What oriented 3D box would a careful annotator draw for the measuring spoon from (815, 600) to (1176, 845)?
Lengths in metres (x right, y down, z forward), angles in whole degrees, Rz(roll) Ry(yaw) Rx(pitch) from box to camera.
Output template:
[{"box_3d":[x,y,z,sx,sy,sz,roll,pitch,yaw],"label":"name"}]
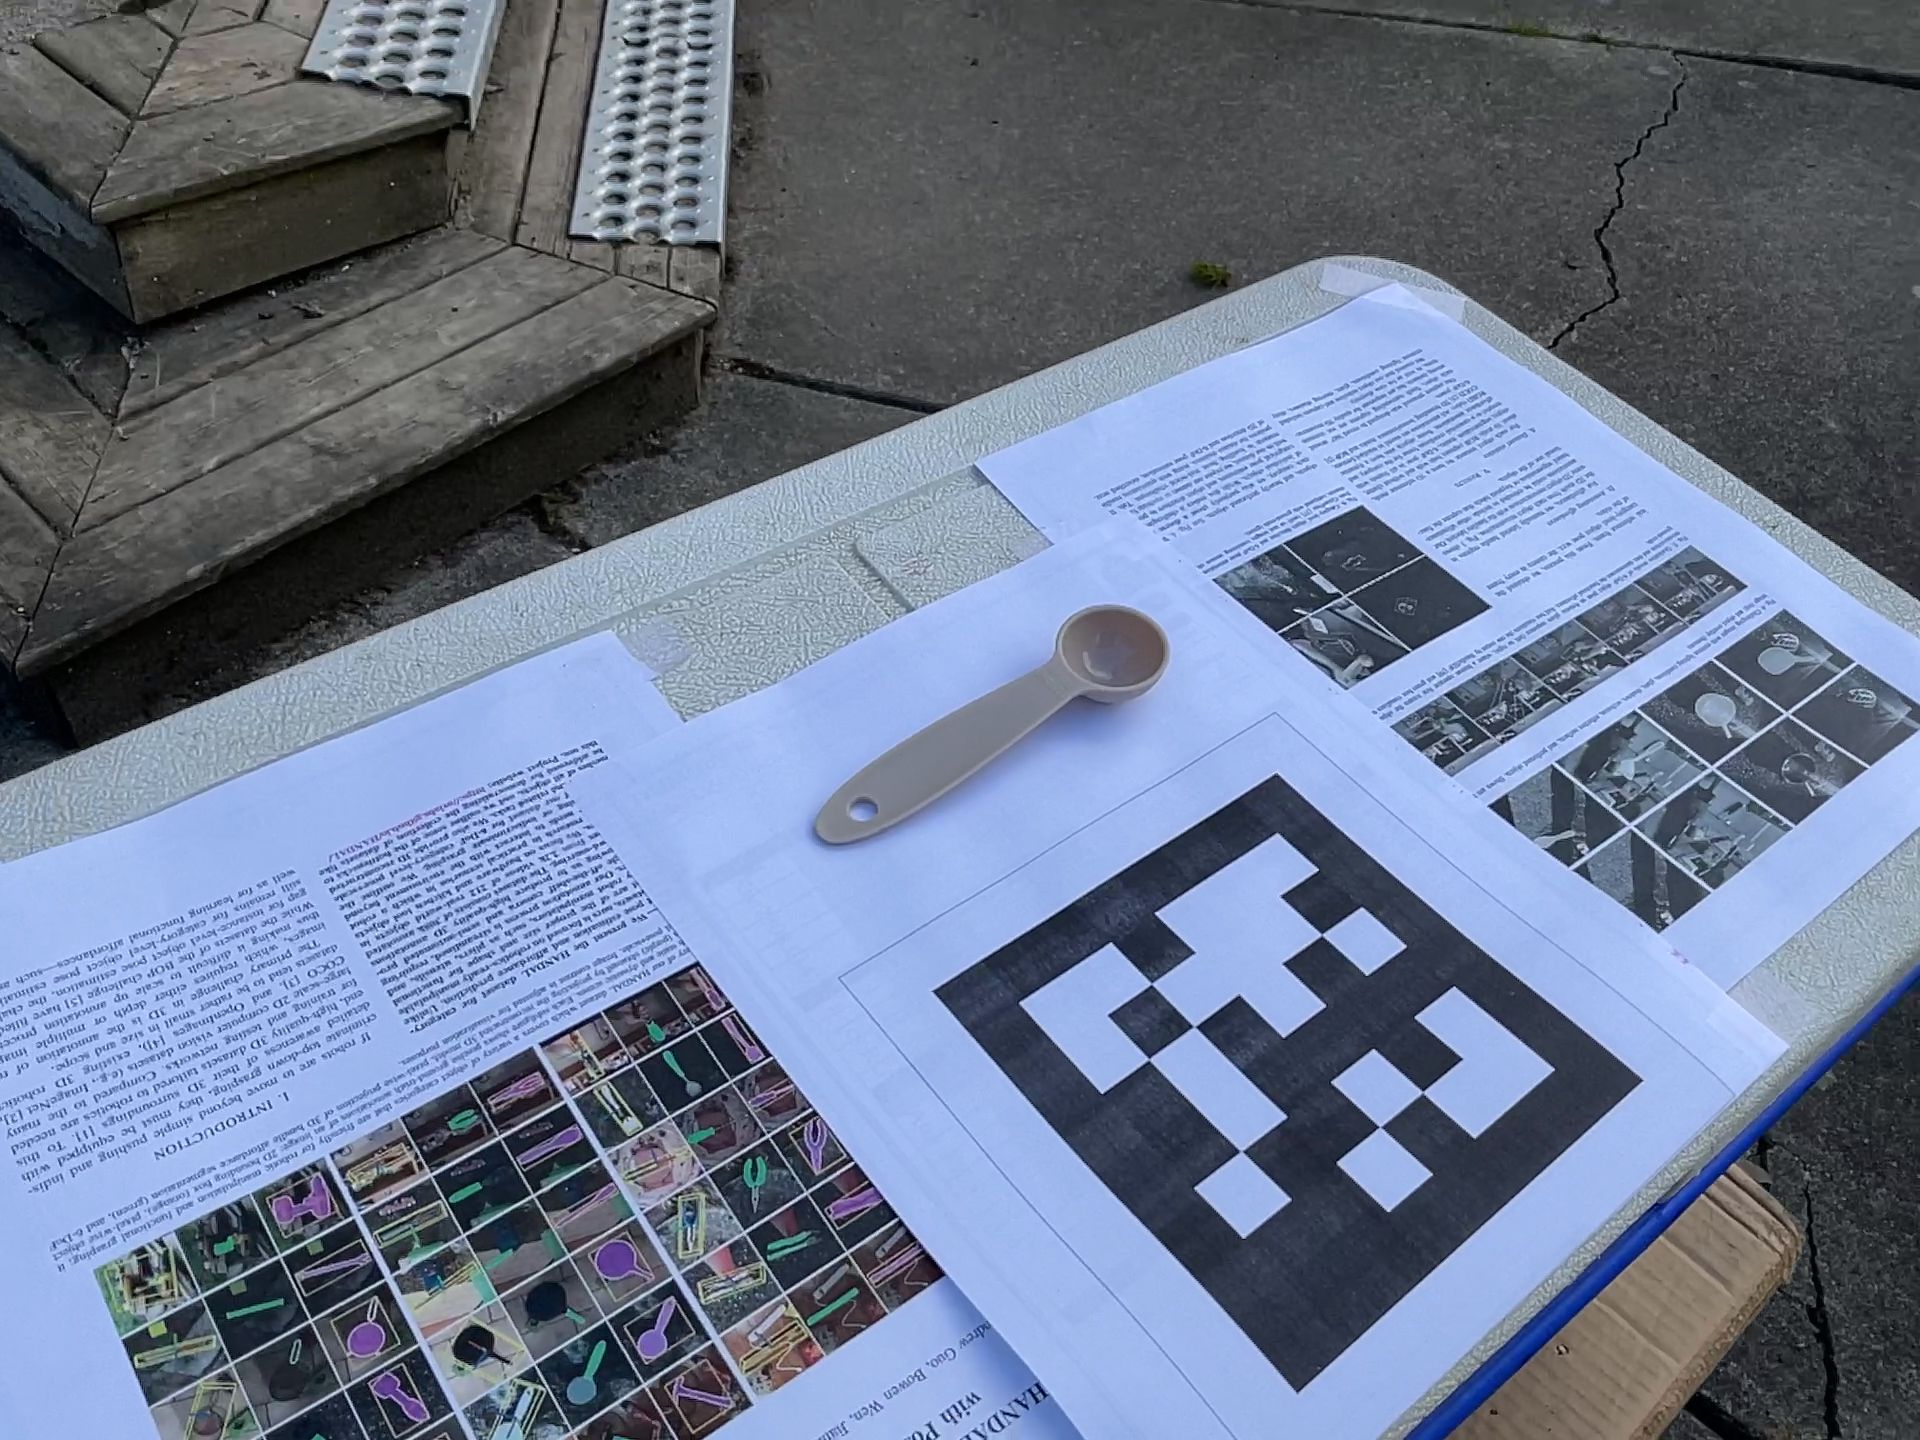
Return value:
[{"box_3d":[0.010,0.004,0.460,0.124,0.018,0.034,-32,61,-22],"label":"measuring spoon"}]
